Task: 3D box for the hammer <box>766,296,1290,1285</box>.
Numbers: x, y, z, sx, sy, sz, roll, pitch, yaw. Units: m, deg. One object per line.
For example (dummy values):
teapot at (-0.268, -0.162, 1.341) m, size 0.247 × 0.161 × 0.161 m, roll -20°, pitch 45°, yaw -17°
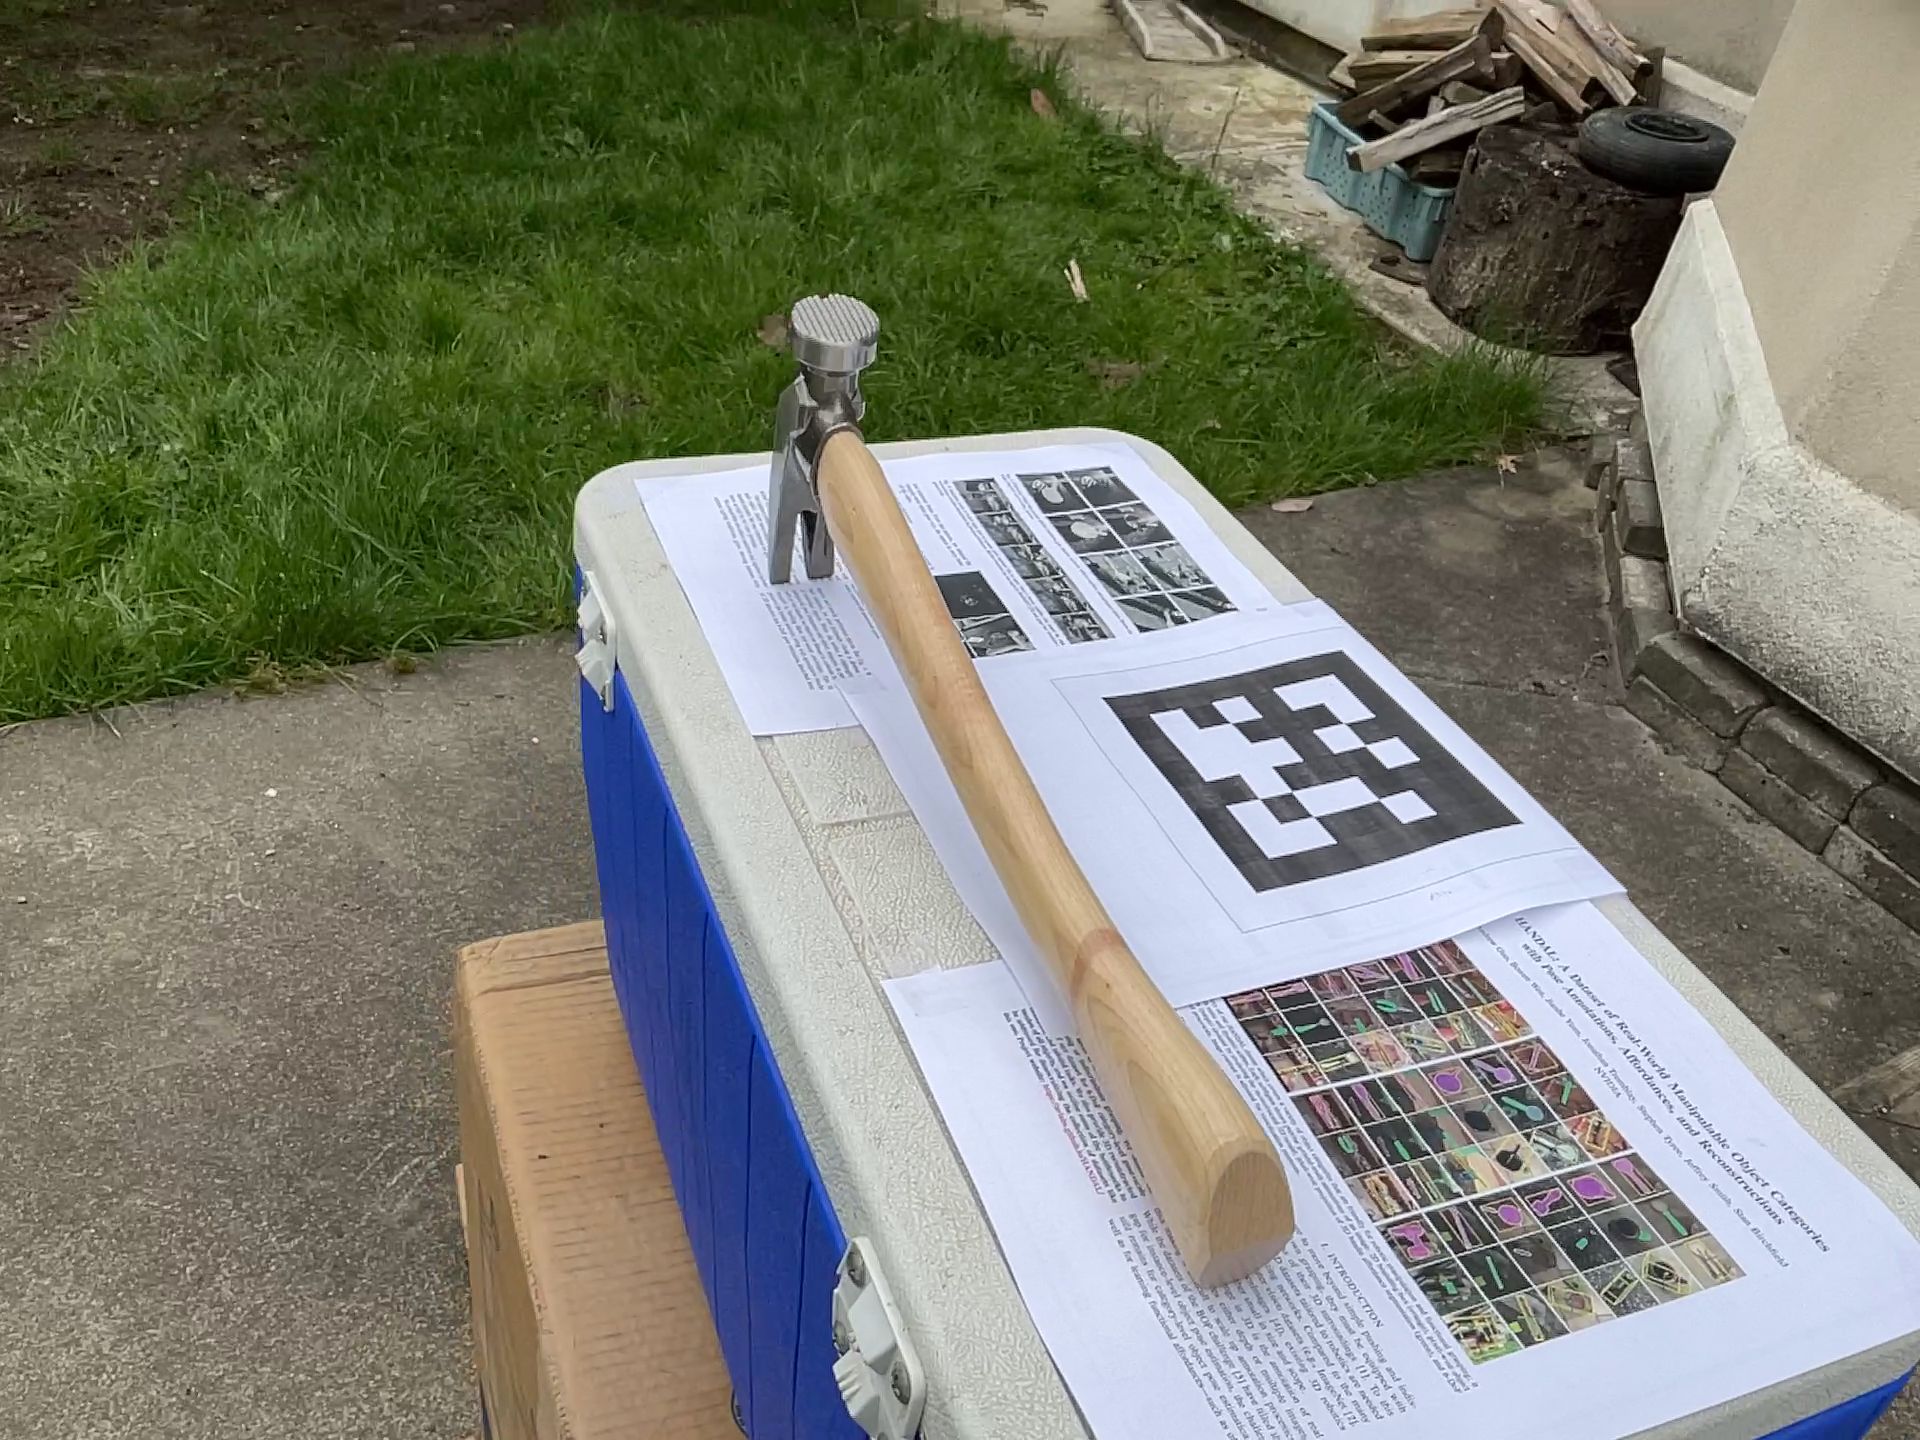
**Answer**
hammer at (0.004, 0.017, 0.593) m, size 0.038 × 0.146 × 0.411 m, roll -9°, pitch 49°, yaw -22°
